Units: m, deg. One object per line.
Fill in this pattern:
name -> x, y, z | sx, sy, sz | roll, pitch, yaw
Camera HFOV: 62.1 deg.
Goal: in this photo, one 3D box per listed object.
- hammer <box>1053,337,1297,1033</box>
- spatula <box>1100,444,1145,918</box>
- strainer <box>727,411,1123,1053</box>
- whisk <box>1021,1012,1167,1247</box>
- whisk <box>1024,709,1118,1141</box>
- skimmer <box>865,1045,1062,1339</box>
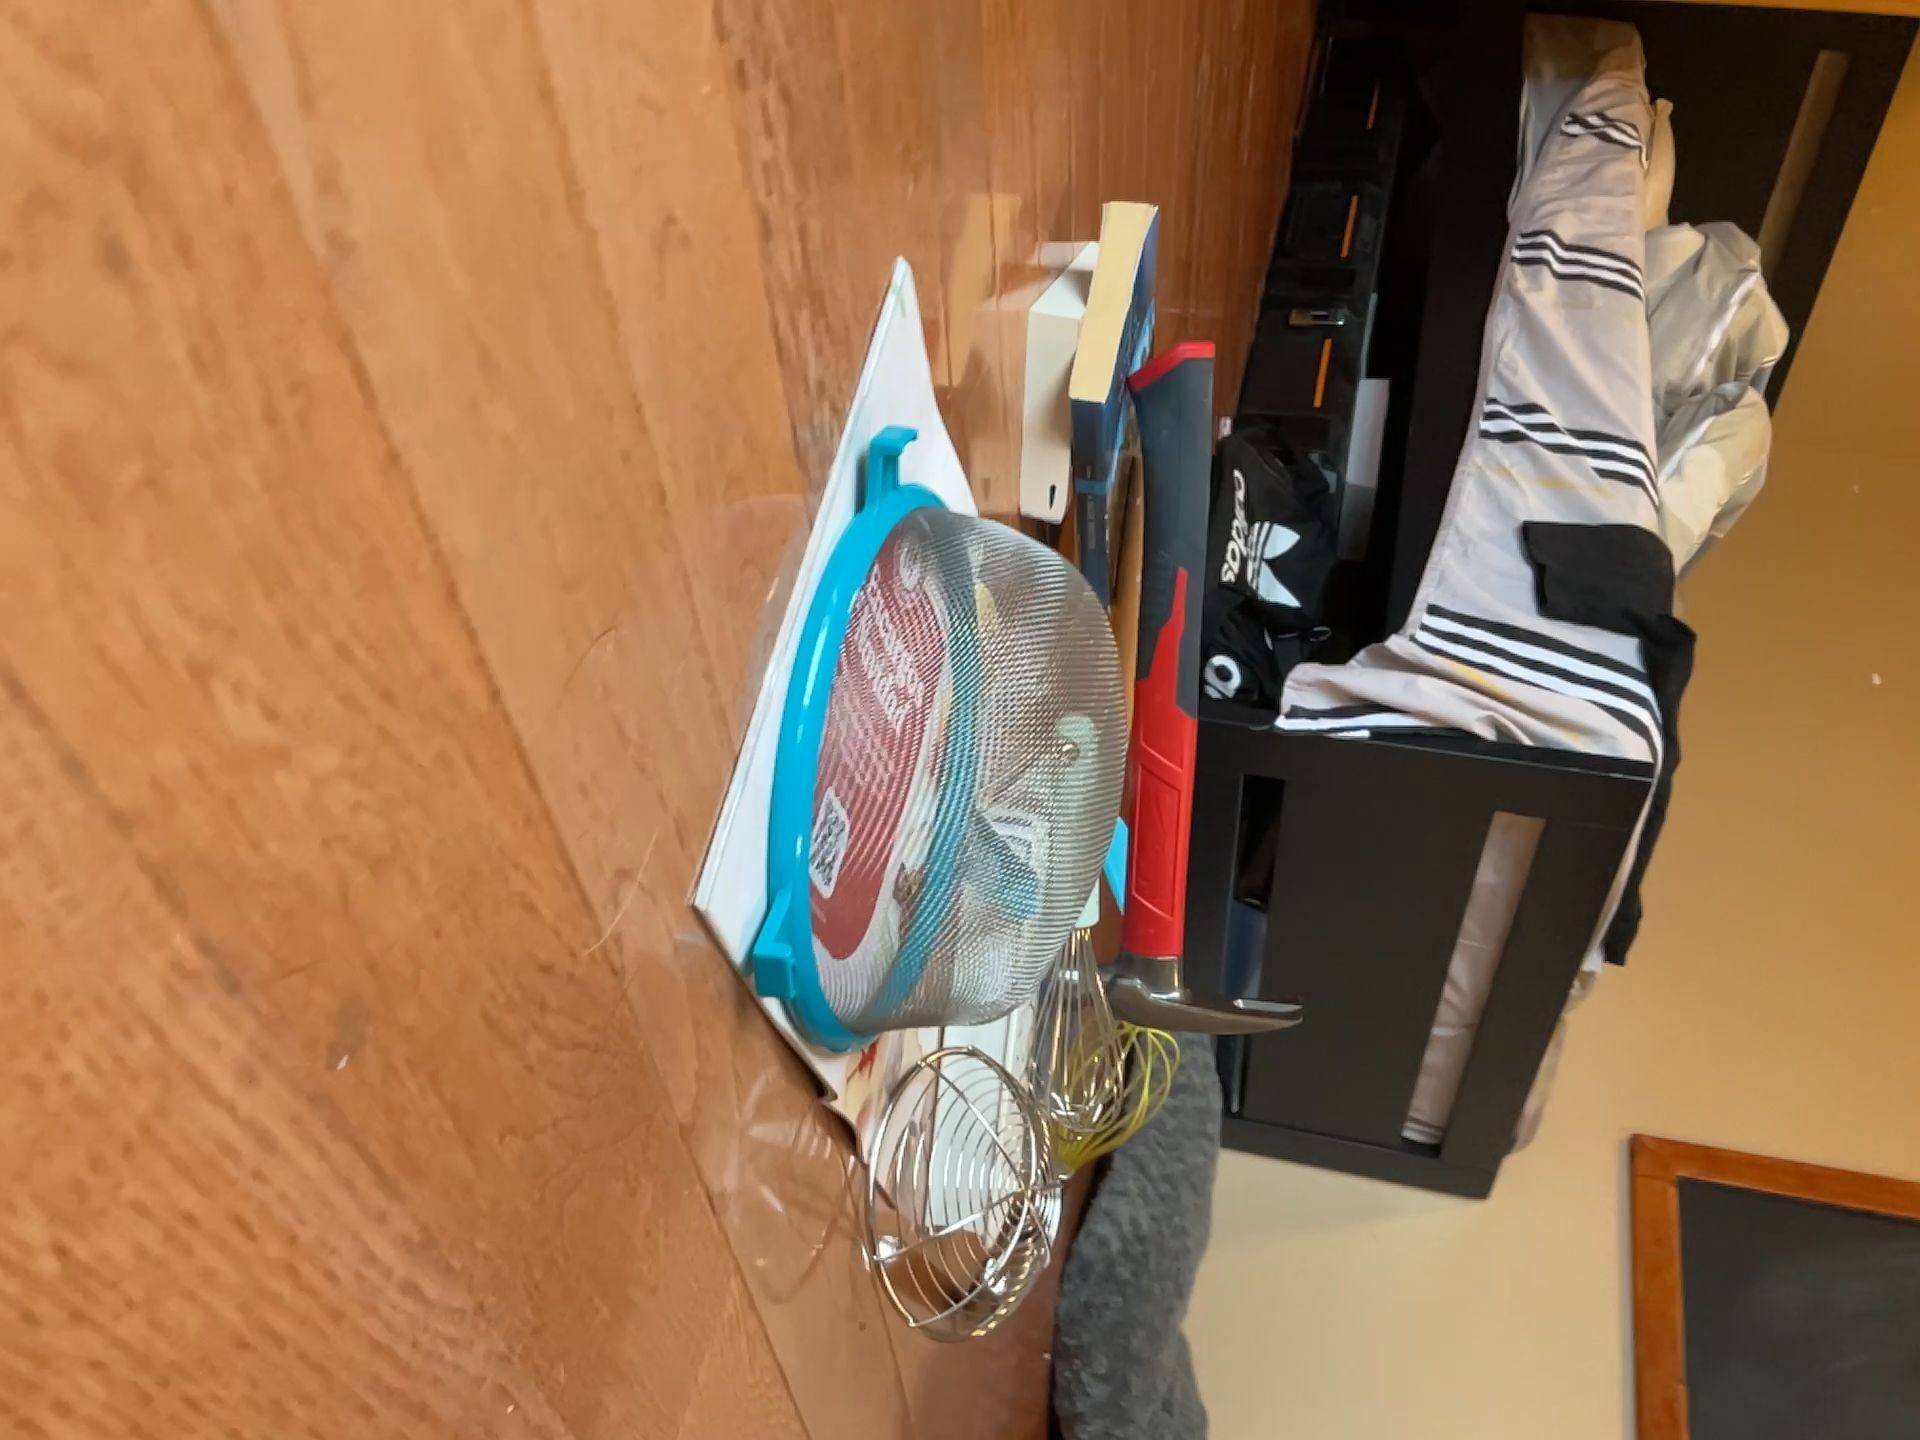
hammer -> 0.127, -0.012, 0.876 | 0.038, 0.143, 0.386 | -54, 147, -72
spatula -> 0.108, -0.012, 0.972 | 0.082, 0.044, 0.317 | -56, 152, -61
strainer -> 0.025, 0.039, 0.630 | 0.340, 0.095, 0.211 | 50, 48, -65
whisk -> 0.076, 0.291, 1.086 | 0.311, 0.067, 0.080 | 106, -13, -45
whisk -> 0.060, 0.113, 0.849 | 0.059, 0.057, 0.246 | -17, 113, -43
skimmer -> -0.006, 0.275, 0.841 | 0.363, 0.090, 0.127 | 98, 3, -62
